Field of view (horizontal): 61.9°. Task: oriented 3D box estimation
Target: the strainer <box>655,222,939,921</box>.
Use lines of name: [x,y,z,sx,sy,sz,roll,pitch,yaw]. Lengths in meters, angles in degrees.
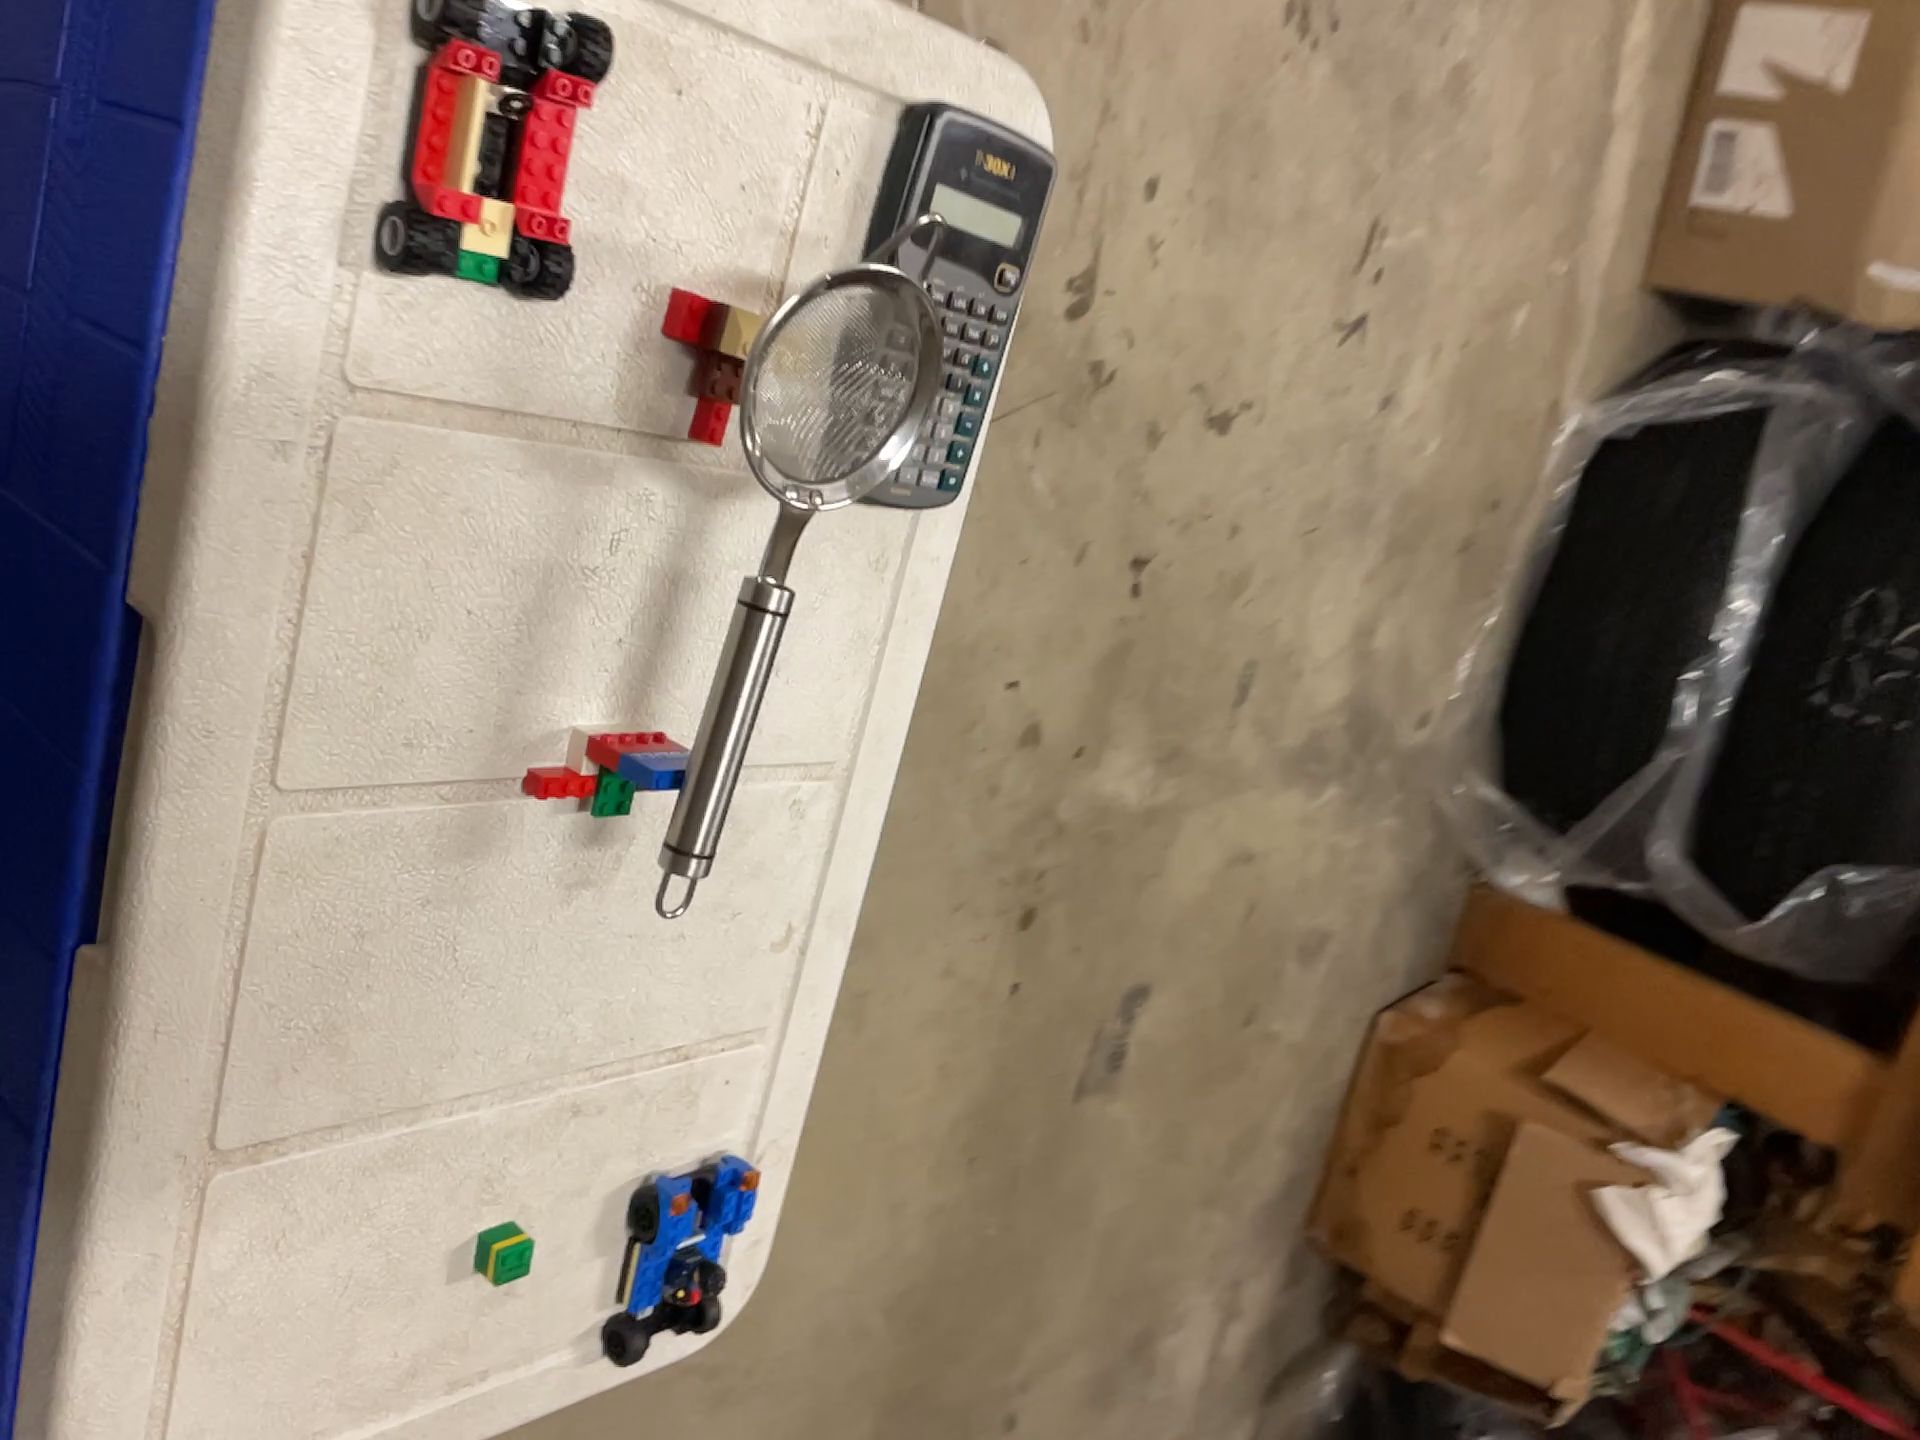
strainer: [-0.067,-0.049,0.557,0.087,0.050,0.258,7,105,-51]
